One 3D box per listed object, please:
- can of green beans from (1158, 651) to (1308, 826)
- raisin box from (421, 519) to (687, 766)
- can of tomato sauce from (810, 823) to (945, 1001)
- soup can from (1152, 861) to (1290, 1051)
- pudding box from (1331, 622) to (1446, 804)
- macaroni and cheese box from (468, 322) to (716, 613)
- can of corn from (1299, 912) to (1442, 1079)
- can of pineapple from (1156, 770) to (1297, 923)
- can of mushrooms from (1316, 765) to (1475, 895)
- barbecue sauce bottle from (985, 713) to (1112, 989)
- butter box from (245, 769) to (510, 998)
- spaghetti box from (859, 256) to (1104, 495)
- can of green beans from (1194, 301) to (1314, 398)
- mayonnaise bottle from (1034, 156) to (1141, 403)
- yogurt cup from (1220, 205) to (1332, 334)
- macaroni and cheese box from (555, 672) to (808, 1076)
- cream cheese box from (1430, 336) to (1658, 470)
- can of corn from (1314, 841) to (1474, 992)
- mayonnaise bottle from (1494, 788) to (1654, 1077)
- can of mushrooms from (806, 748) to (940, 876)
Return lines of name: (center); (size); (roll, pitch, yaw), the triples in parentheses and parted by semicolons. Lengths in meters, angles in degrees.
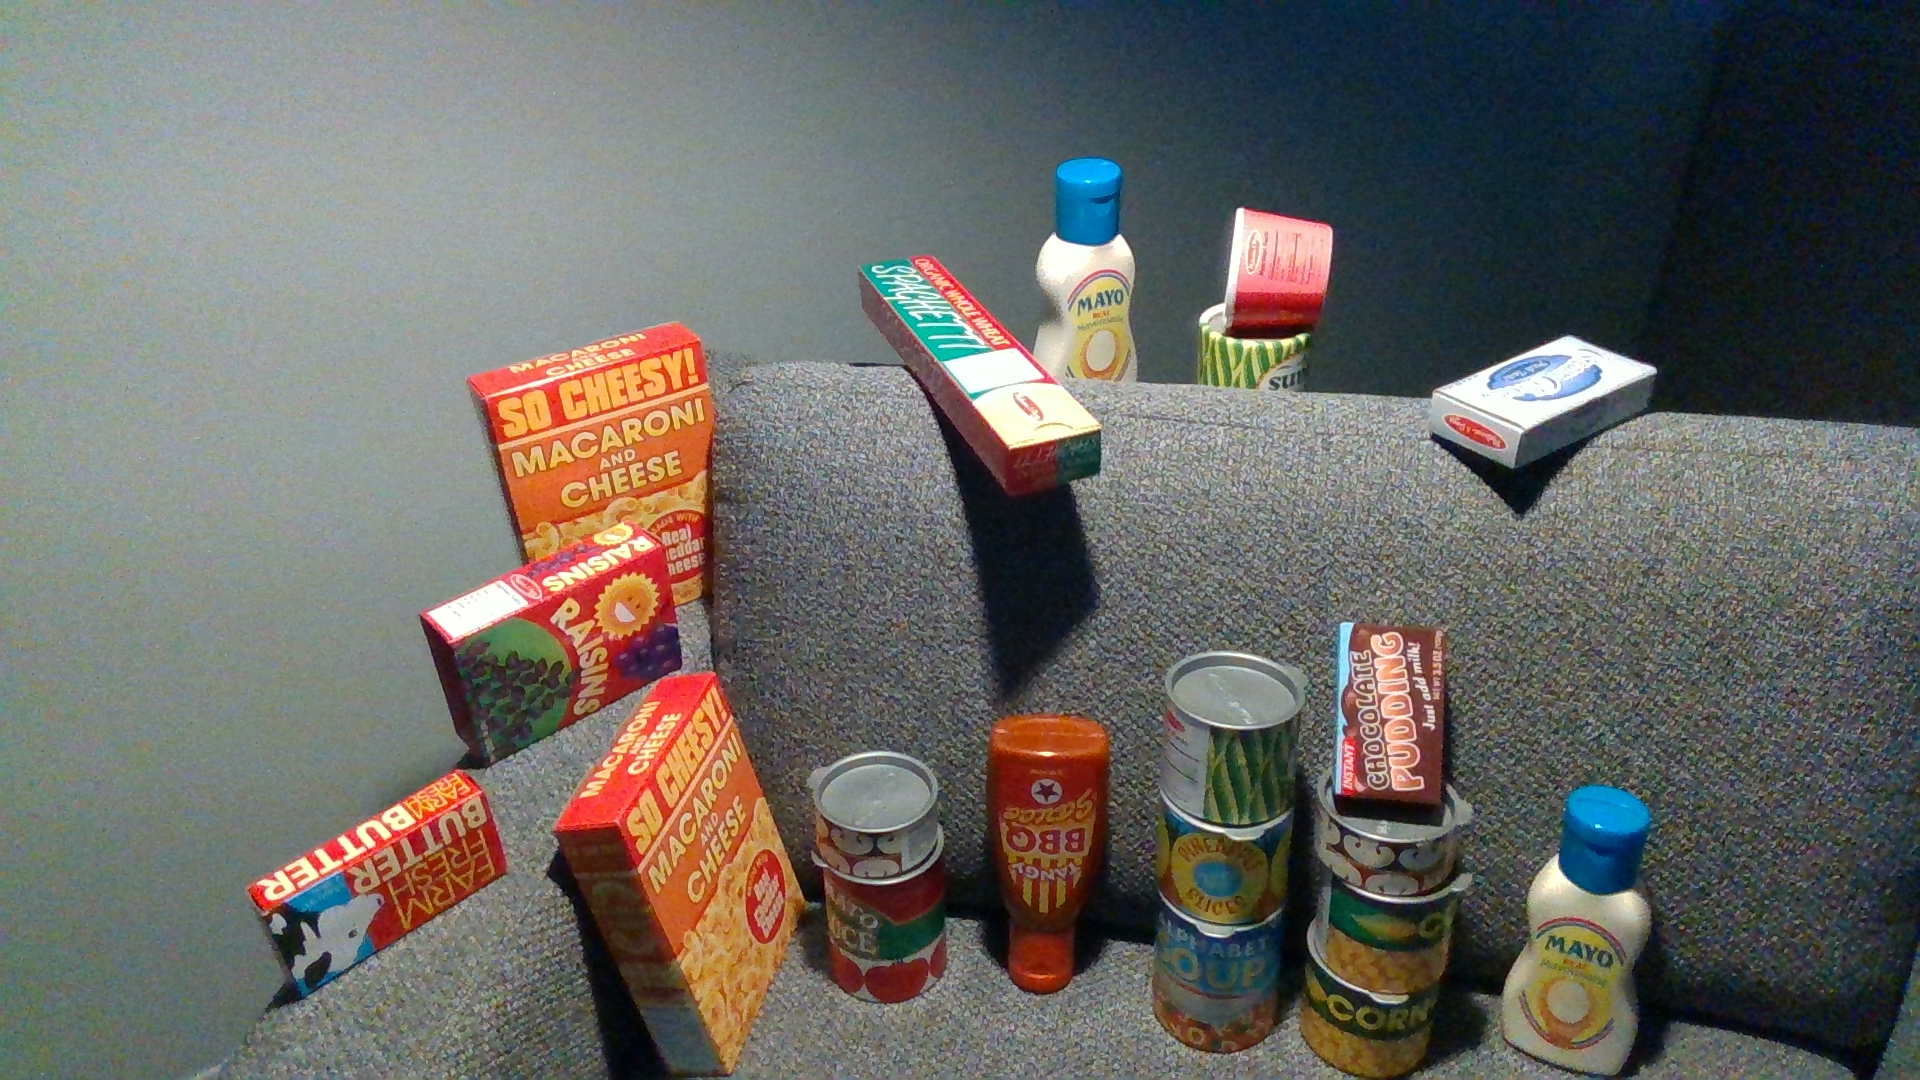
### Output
can of green beans: (0.129, 0.095, 0.666); (0.071, 0.057, 0.071); (-1, 27, 1)
raisin box: (-0.212, 0.052, 0.741); (0.124, 0.085, 0.040); (-28, 41, -33)
can of tomato sauce: (-0.043, 0.195, 0.746); (0.071, 0.082, 0.071); (0, 26, 0)
soup can: (0.132, 0.211, 0.715); (0.071, 0.083, 0.071); (-1, 26, 1)
pudding box: (0.205, 0.082, 0.666); (0.050, 0.084, 0.030); (3, -8, 13)
macaroni and cheese box: (-0.199, -0.029, 0.798); (0.124, 0.165, 0.040); (-21, 35, -27)
can of corn: (0.208, 0.230, 0.706); (0.071, 0.058, 0.071); (-1, 26, 0)
can of pineapple: (0.131, 0.147, 0.688); (0.071, 0.057, 0.071); (-1, 27, 1)
can of mushrooms: (0.207, 0.137, 0.664); (0.071, 0.033, 0.071); (-2, 26, 1)
barbecue sauce bottle: (0.045, 0.165, 0.729); (0.065, 0.148, 0.044); (2, 22, 4)
butter box: (-0.258, 0.152, 0.623); (0.104, 0.052, 0.024); (-31, 40, -34)
spaghetti box: (0.004, -0.096, 0.736); (0.050, 0.028, 0.251); (-12, 33, -15)
can of green beans: (0.170, -0.102, 0.809); (0.071, 0.057, 0.071); (-2, 33, 1)
mayonnaise bottle: (0.071, -0.141, 0.790); (0.065, 0.147, 0.041); (-15, 36, -17)
yogurt cup: (0.178, -0.151, 0.781); (0.054, 0.072, 0.072); (7, 1, 9)
macaroni and cheese box: (-0.140, 0.173, 0.724); (0.040, 0.165, 0.124); (-7, 27, 18)
cream cheese box: (0.286, -0.069, 0.681); (0.104, 0.024, 0.053); (-21, 38, -27)
can of corn: (0.211, 0.178, 0.681); (0.071, 0.058, 0.071); (-2, 27, 1)
mayonnaise bottle: (0.304, 0.191, 0.680); (0.065, 0.147, 0.041); (13, 29, 26)
can of mushrooms: (-0.046, 0.141, 0.726); (0.071, 0.033, 0.071); (-1, 30, 1)
